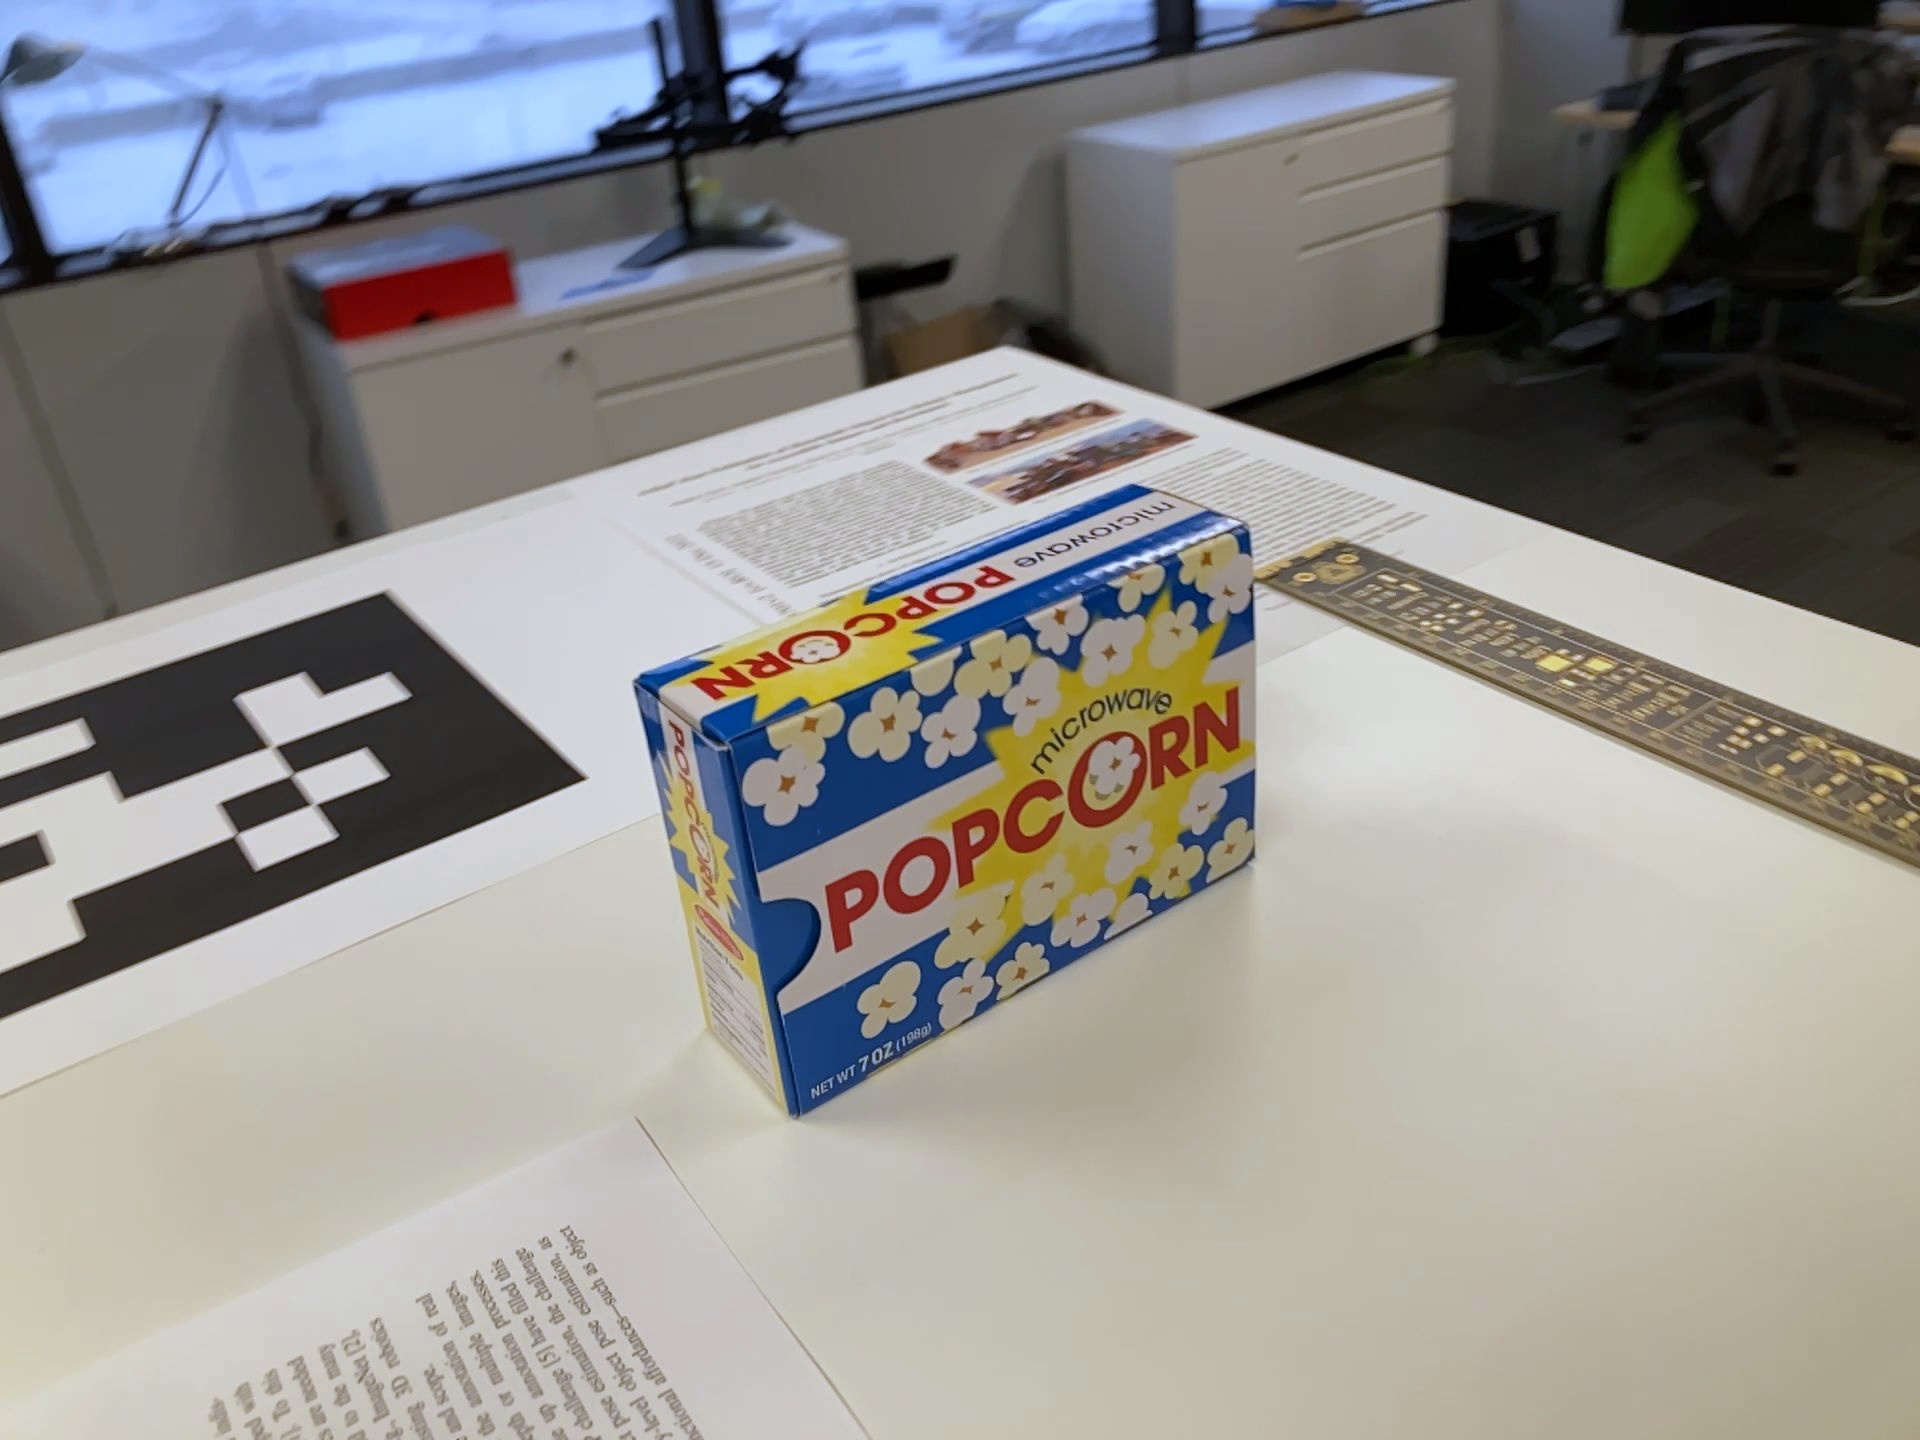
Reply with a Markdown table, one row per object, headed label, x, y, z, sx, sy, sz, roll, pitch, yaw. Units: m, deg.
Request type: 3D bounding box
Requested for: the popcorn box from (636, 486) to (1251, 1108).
| label | x | y | z | sx | sy | sz | roll | pitch | yaw |
| --- | --- | --- | --- | --- | --- | --- | --- | --- | --- |
| popcorn box | 0.003 | 0.011 | 0.329 | 0.126 | 0.085 | 0.038 | -24 | 34 | -28 |
